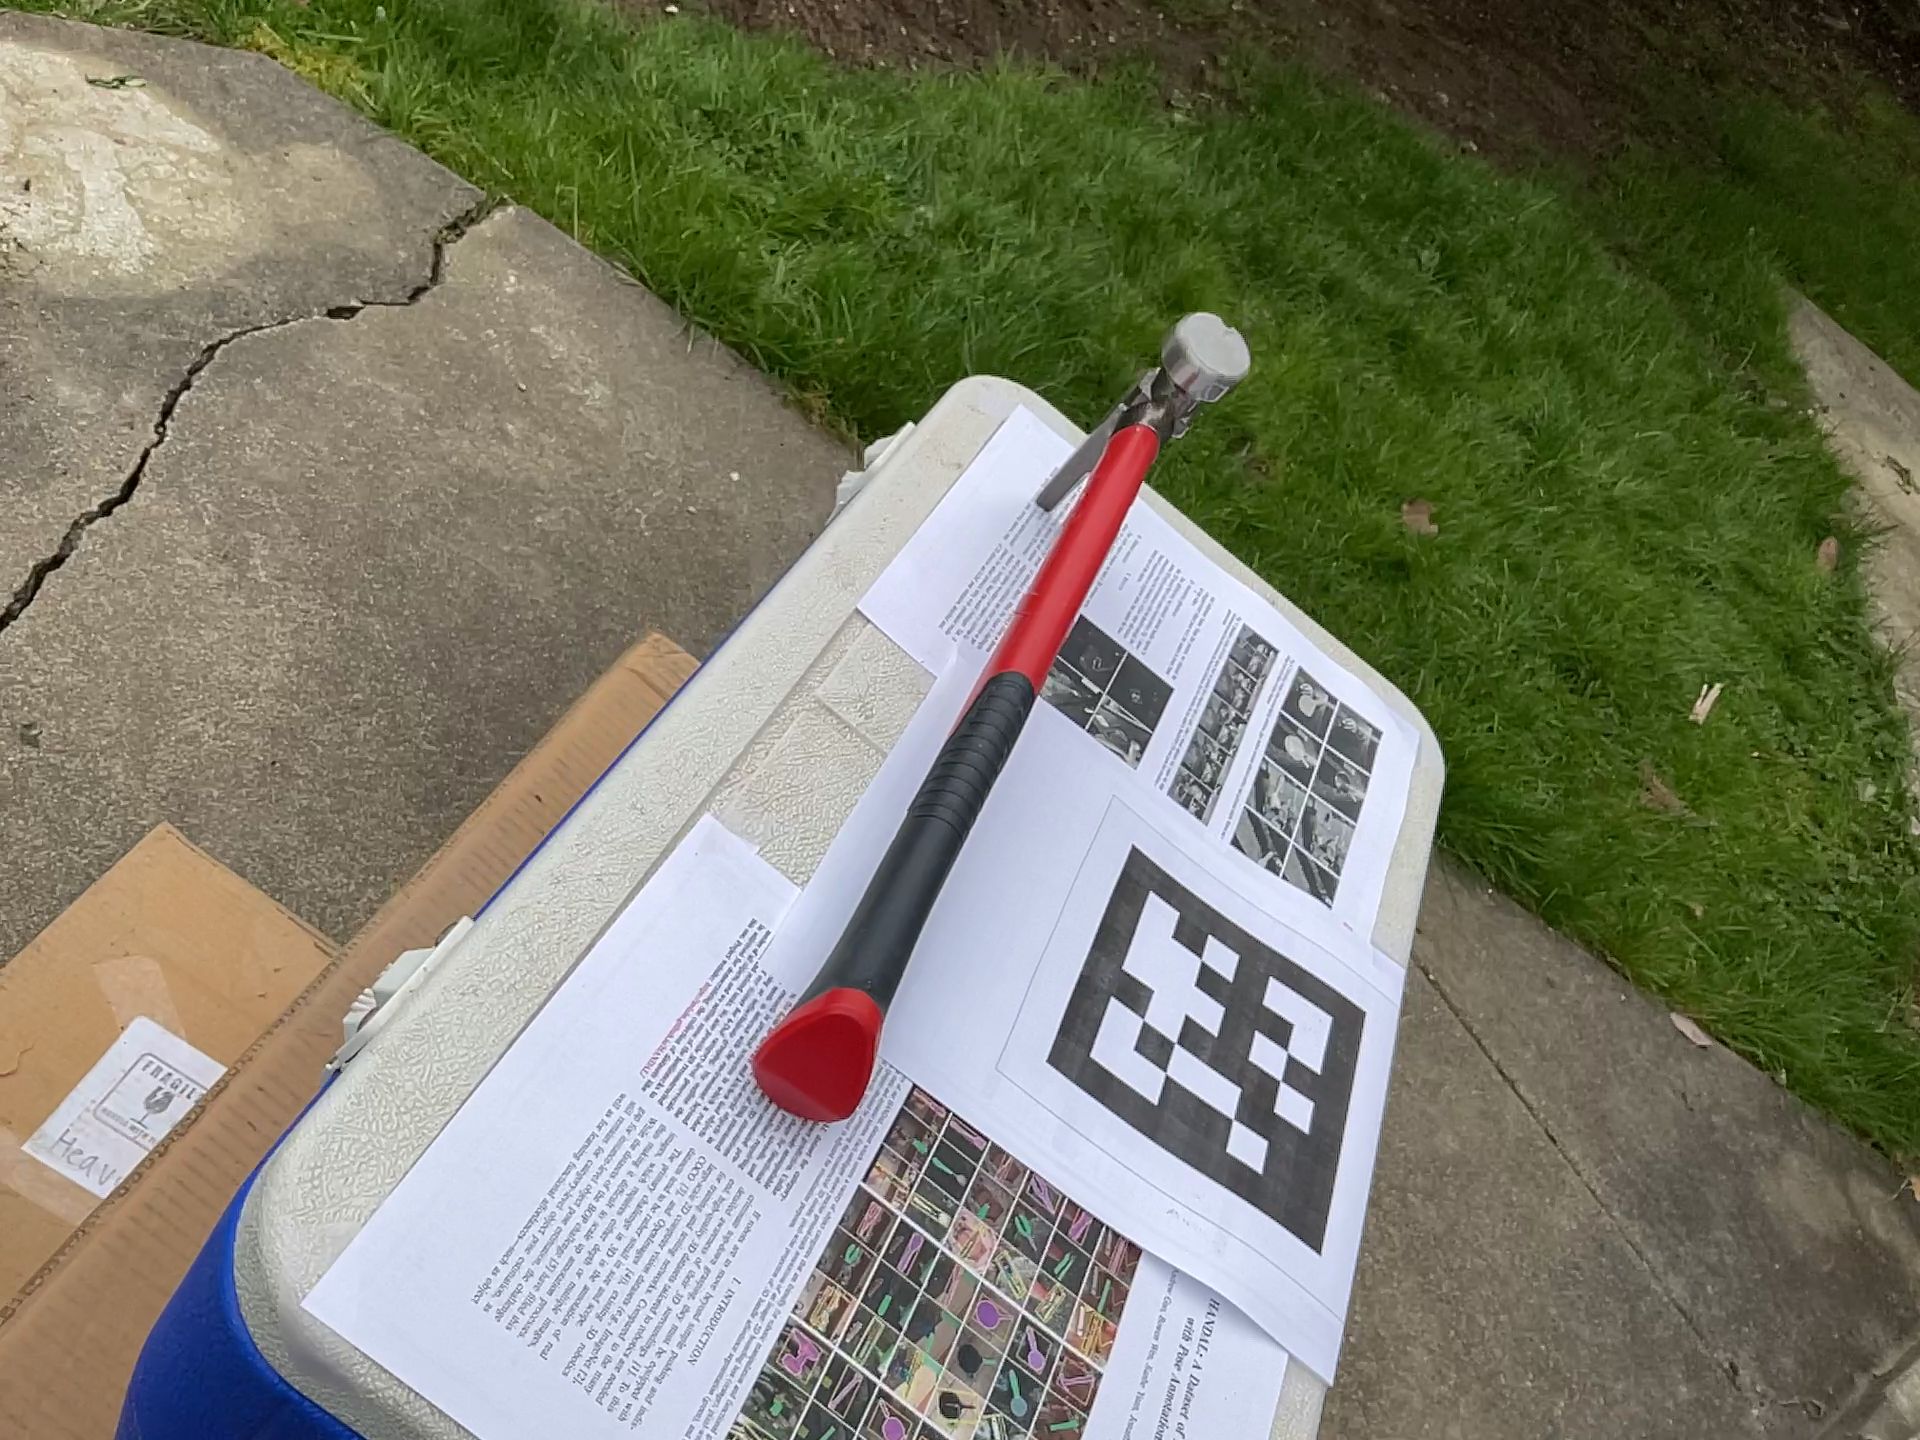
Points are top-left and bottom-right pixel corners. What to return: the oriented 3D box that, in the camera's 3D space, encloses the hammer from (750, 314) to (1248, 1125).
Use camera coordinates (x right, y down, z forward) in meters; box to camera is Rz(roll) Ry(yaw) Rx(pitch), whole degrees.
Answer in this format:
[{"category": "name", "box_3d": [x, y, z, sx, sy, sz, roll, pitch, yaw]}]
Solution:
[{"category": "hammer", "box_3d": [0.013, -0.008, 0.636, 0.038, 0.143, 0.386, 35, 52, -8]}]
